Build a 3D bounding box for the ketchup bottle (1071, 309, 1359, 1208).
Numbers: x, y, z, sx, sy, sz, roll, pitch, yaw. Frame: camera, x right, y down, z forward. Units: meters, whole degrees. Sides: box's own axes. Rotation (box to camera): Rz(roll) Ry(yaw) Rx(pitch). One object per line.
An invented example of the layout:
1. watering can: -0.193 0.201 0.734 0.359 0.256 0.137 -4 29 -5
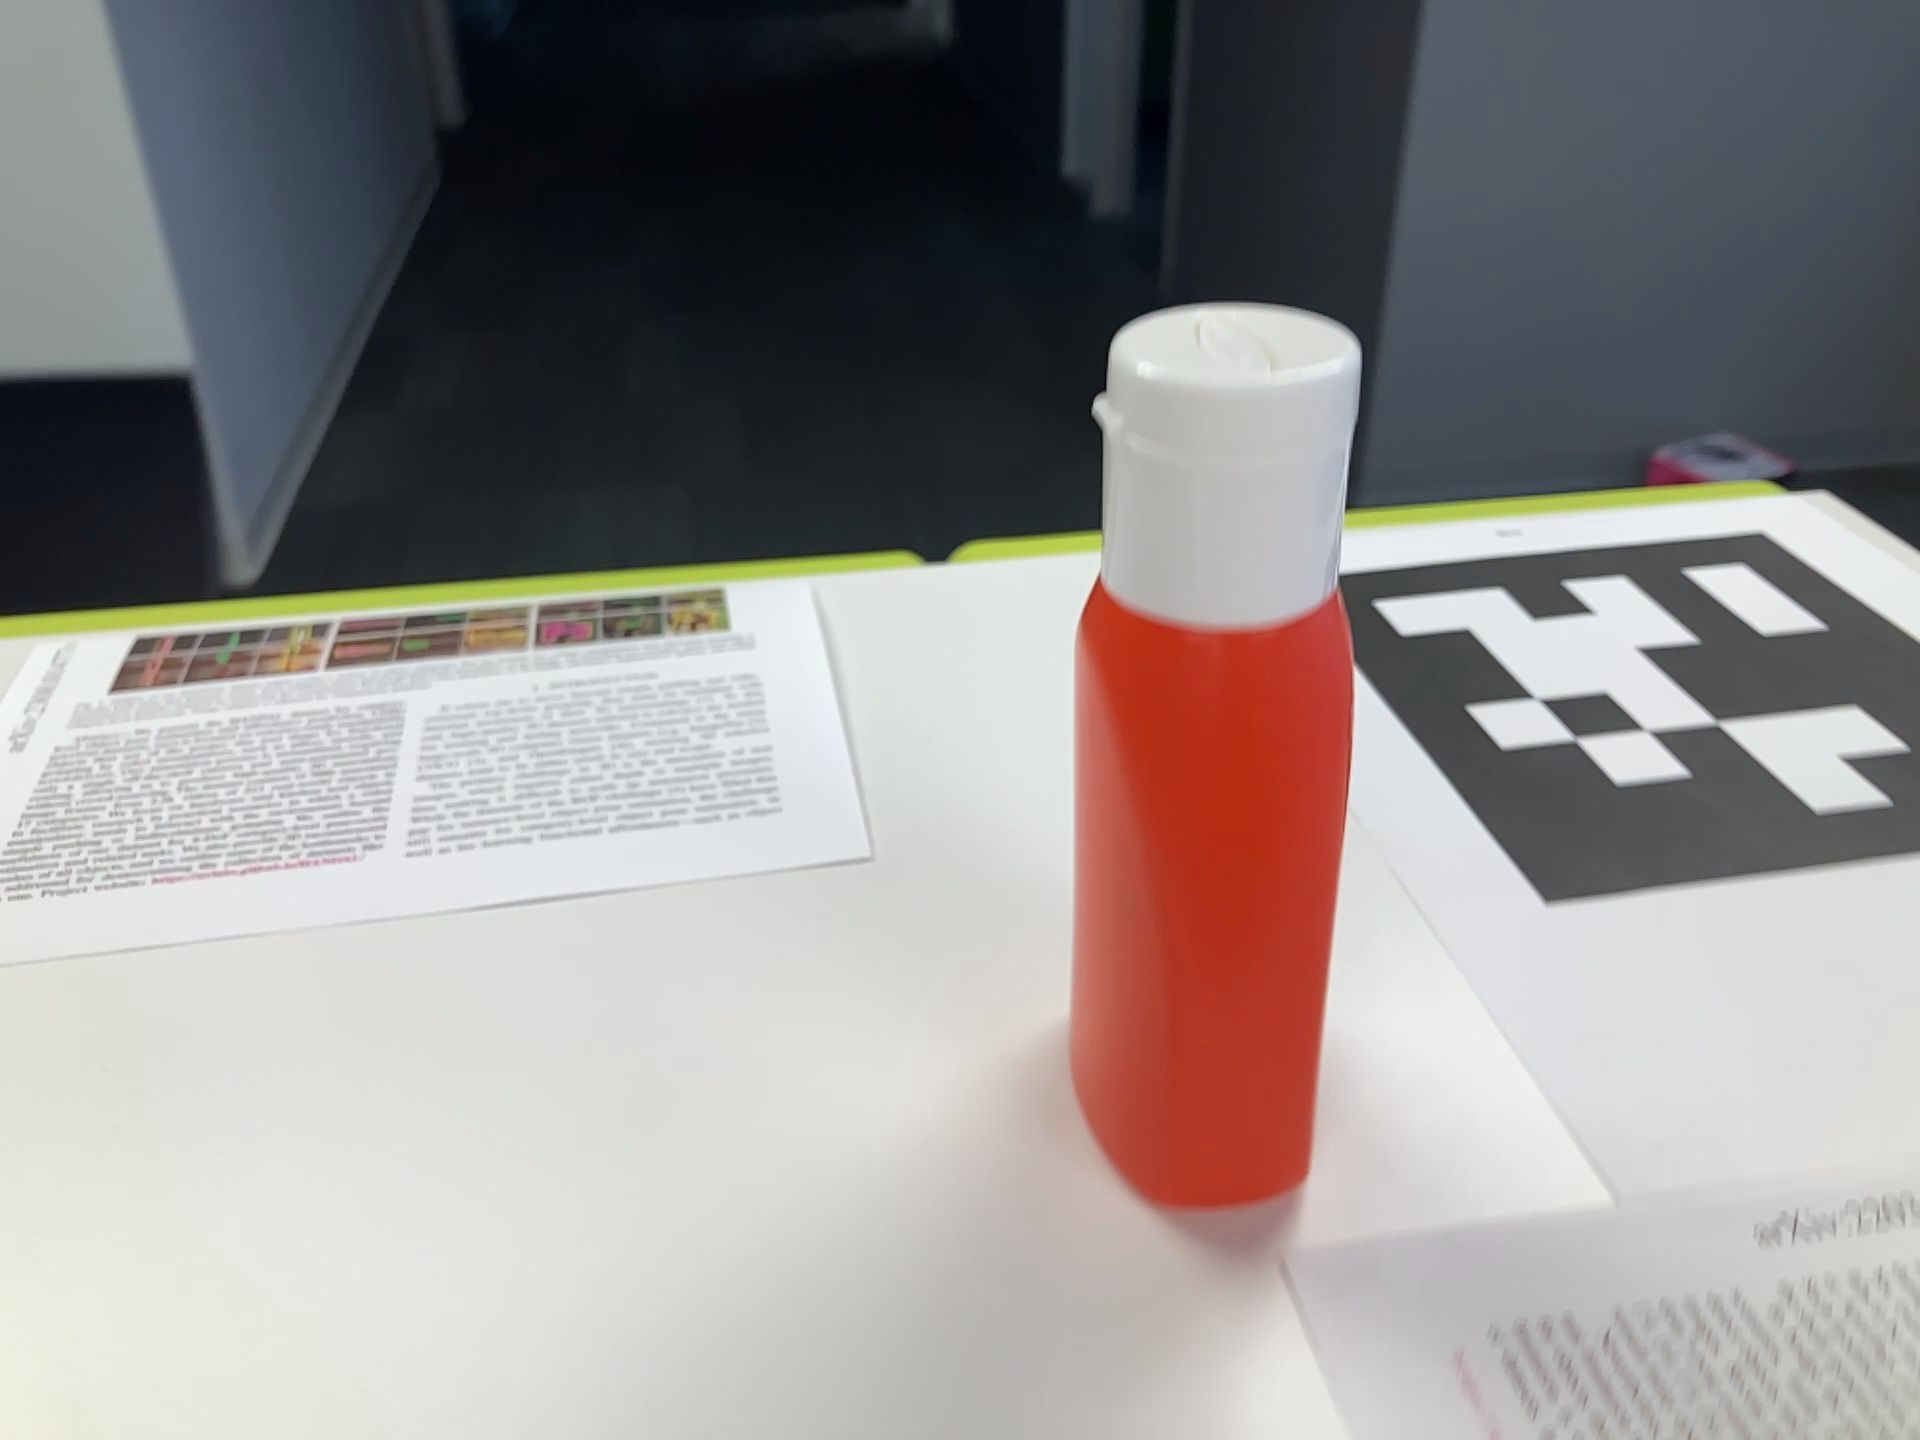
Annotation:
1. ketchup bottle: 0.041 0.009 0.269 0.043 0.149 0.065 -6 32 -6
